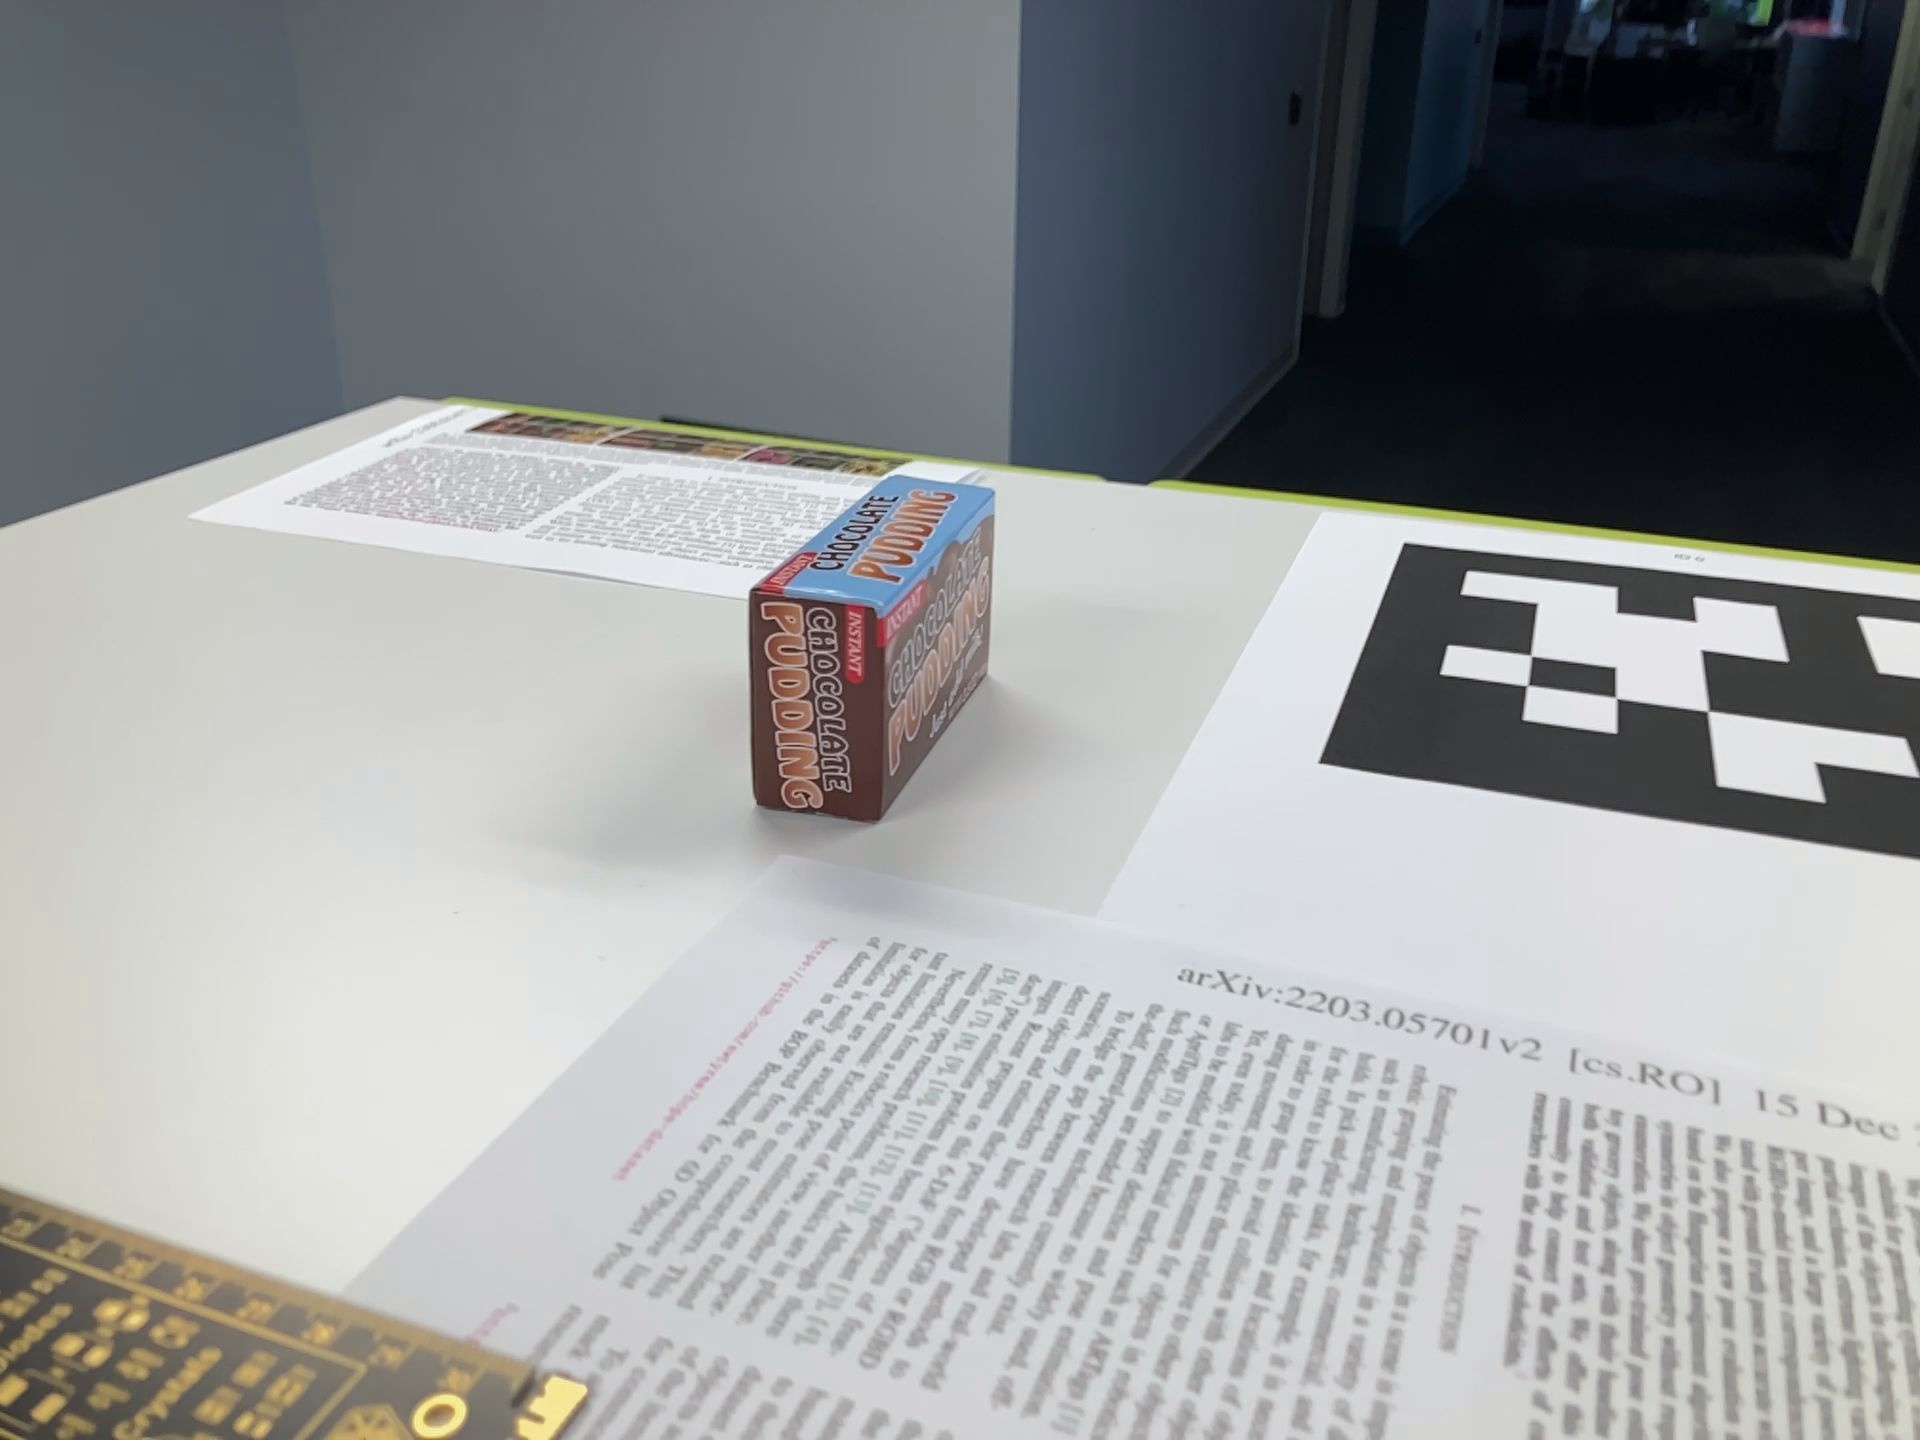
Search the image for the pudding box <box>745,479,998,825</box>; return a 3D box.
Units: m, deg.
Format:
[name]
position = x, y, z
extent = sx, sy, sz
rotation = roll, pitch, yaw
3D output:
[pudding box]
position = -0.018, -0.018, 0.347
extent = 0.030, 0.049, 0.083
rotation = 9, 25, 15
